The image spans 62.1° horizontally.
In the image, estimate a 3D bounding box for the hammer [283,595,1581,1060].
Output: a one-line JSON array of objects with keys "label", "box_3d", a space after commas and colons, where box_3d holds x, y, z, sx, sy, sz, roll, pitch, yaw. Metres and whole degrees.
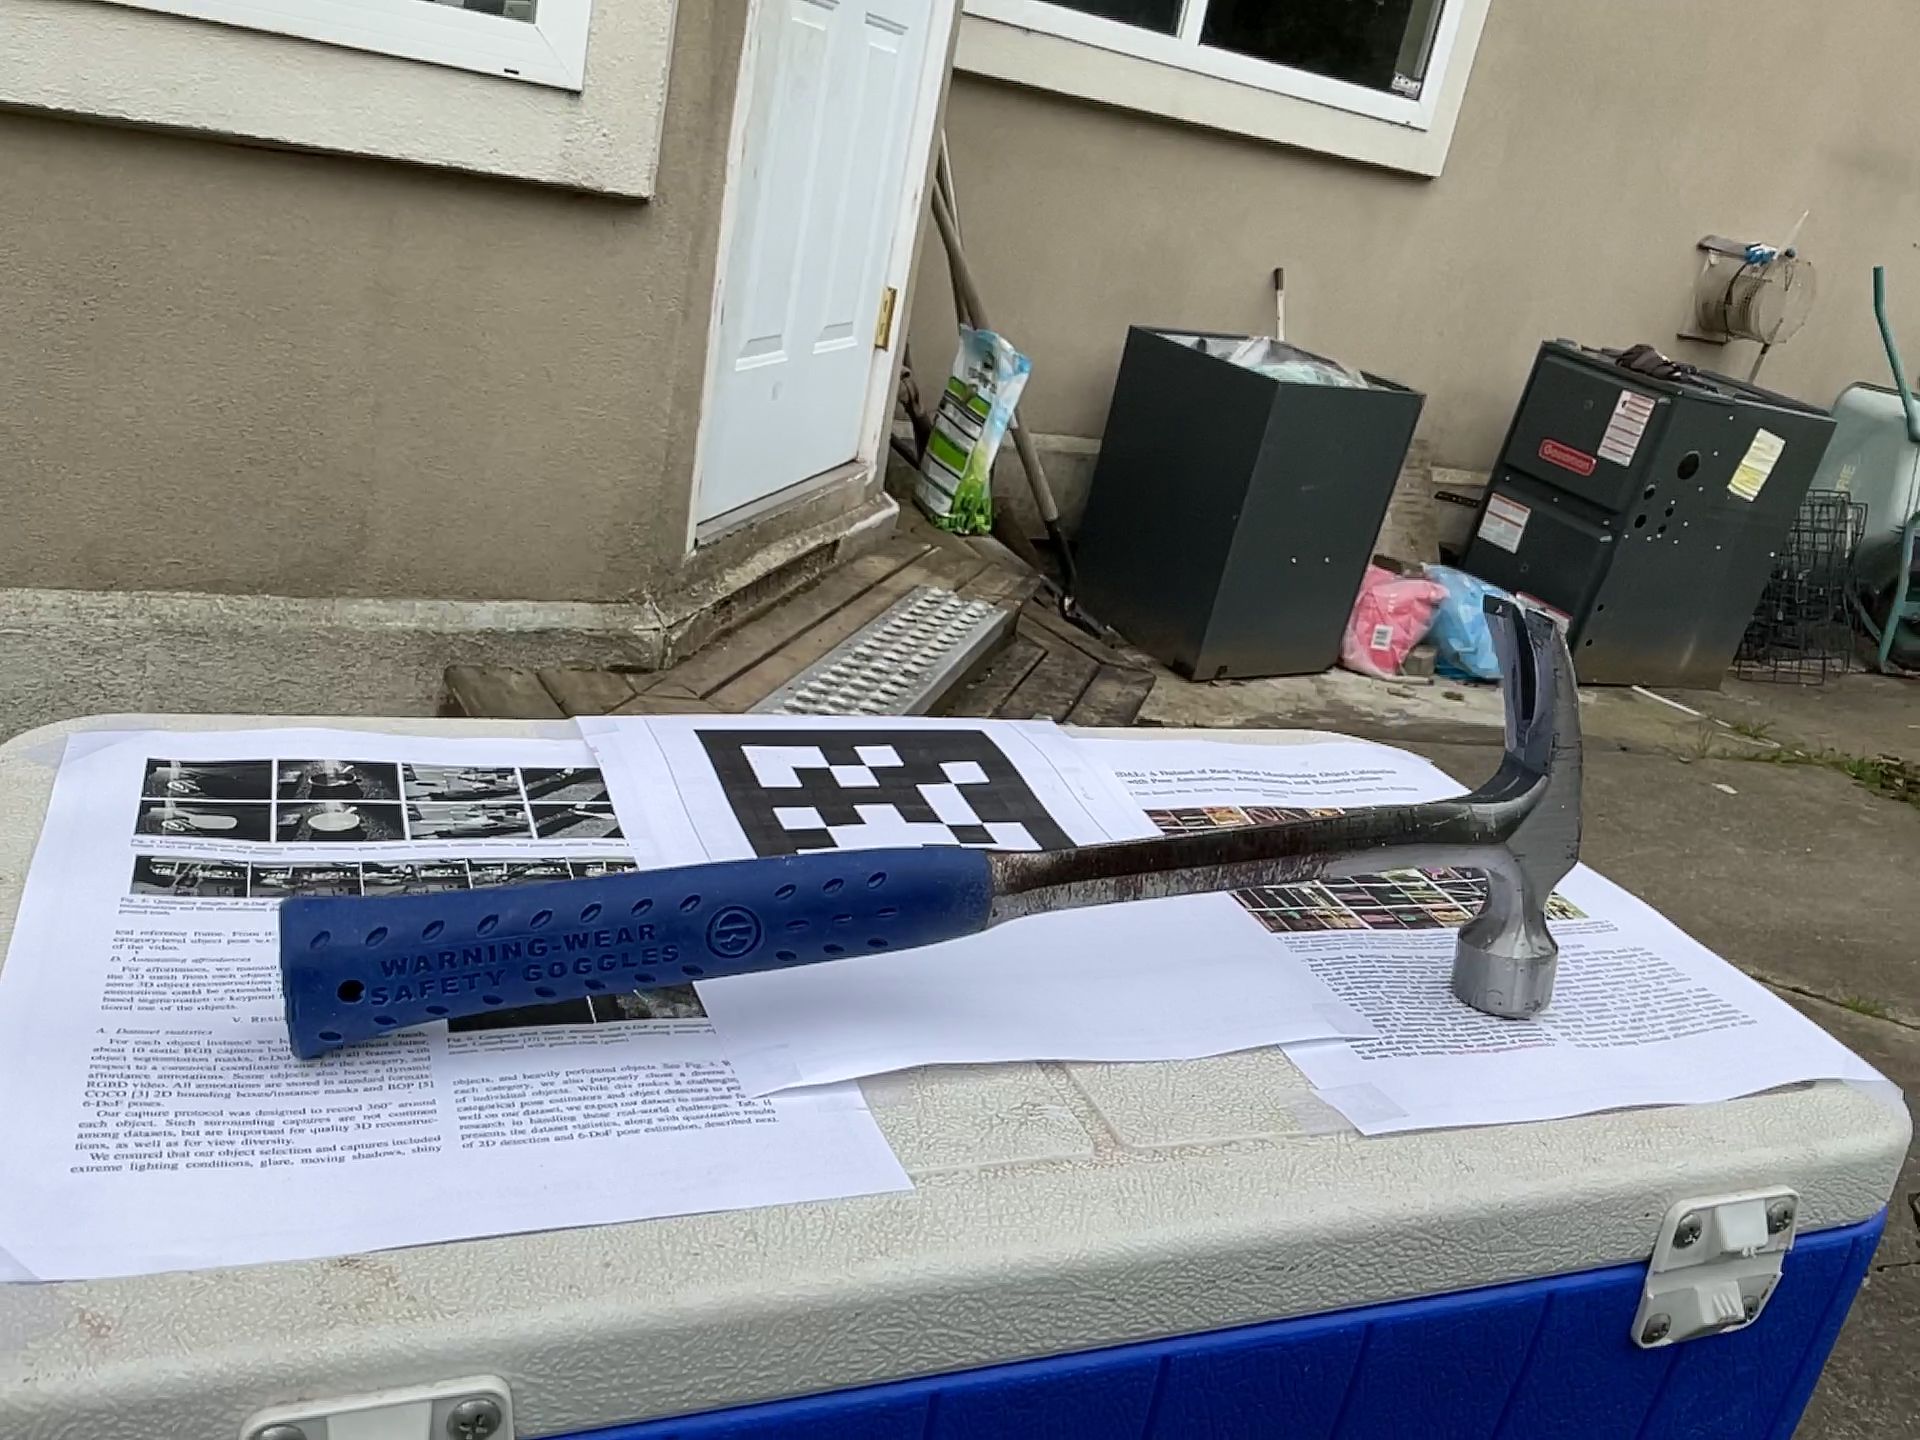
[{"label": "hammer", "box_3d": [0.016, 0.045, 0.479, 0.405, 0.144, 0.035, -5, 19, -19]}]
